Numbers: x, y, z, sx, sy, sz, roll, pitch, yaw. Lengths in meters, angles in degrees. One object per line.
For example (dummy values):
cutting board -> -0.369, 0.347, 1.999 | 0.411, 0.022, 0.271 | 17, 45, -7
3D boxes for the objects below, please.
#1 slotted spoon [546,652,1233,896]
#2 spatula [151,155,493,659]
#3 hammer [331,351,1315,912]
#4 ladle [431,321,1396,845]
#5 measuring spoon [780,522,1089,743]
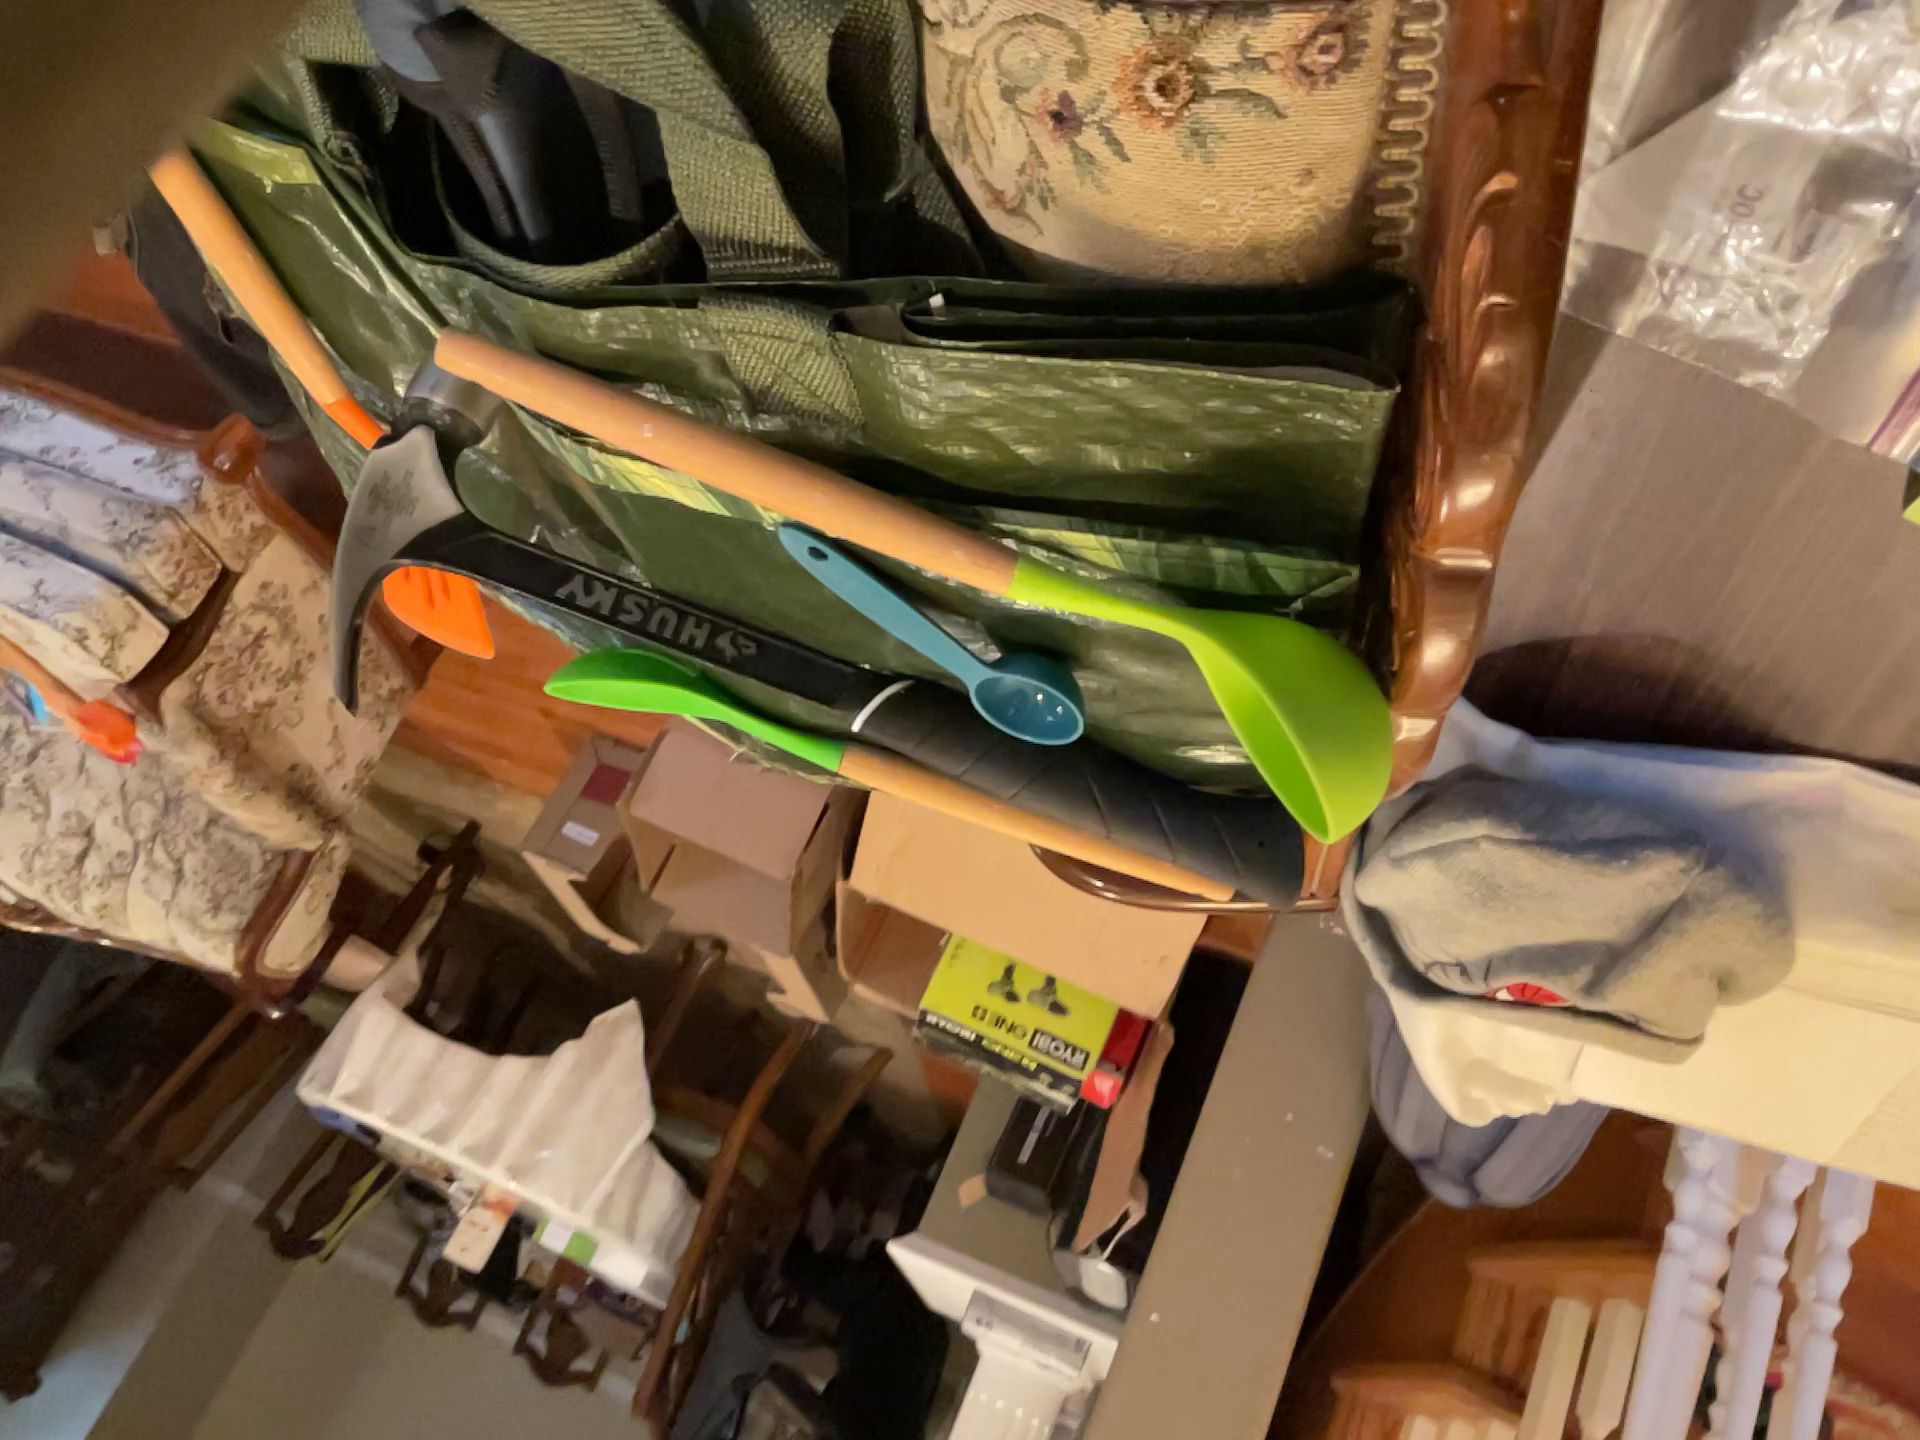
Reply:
slotted spoon -> -0.027, 0.025, 0.703 | 0.313, 0.031, 0.070 | 18, 169, -3
spatula -> -0.283, -0.149, 0.667 | 0.081, 0.041, 0.322 | 21, 151, 30
hammer -> -0.049, -0.009, 0.631 | 0.409, 0.149, 0.036 | 21, 163, -3
ladle -> -0.013, -0.045, 0.488 | 0.320, 0.062, 0.078 | 21, 180, -4
measuring spoon -> -0.006, -0.035, 0.544 | 0.128, 0.021, 0.042 | 35, 151, -19
